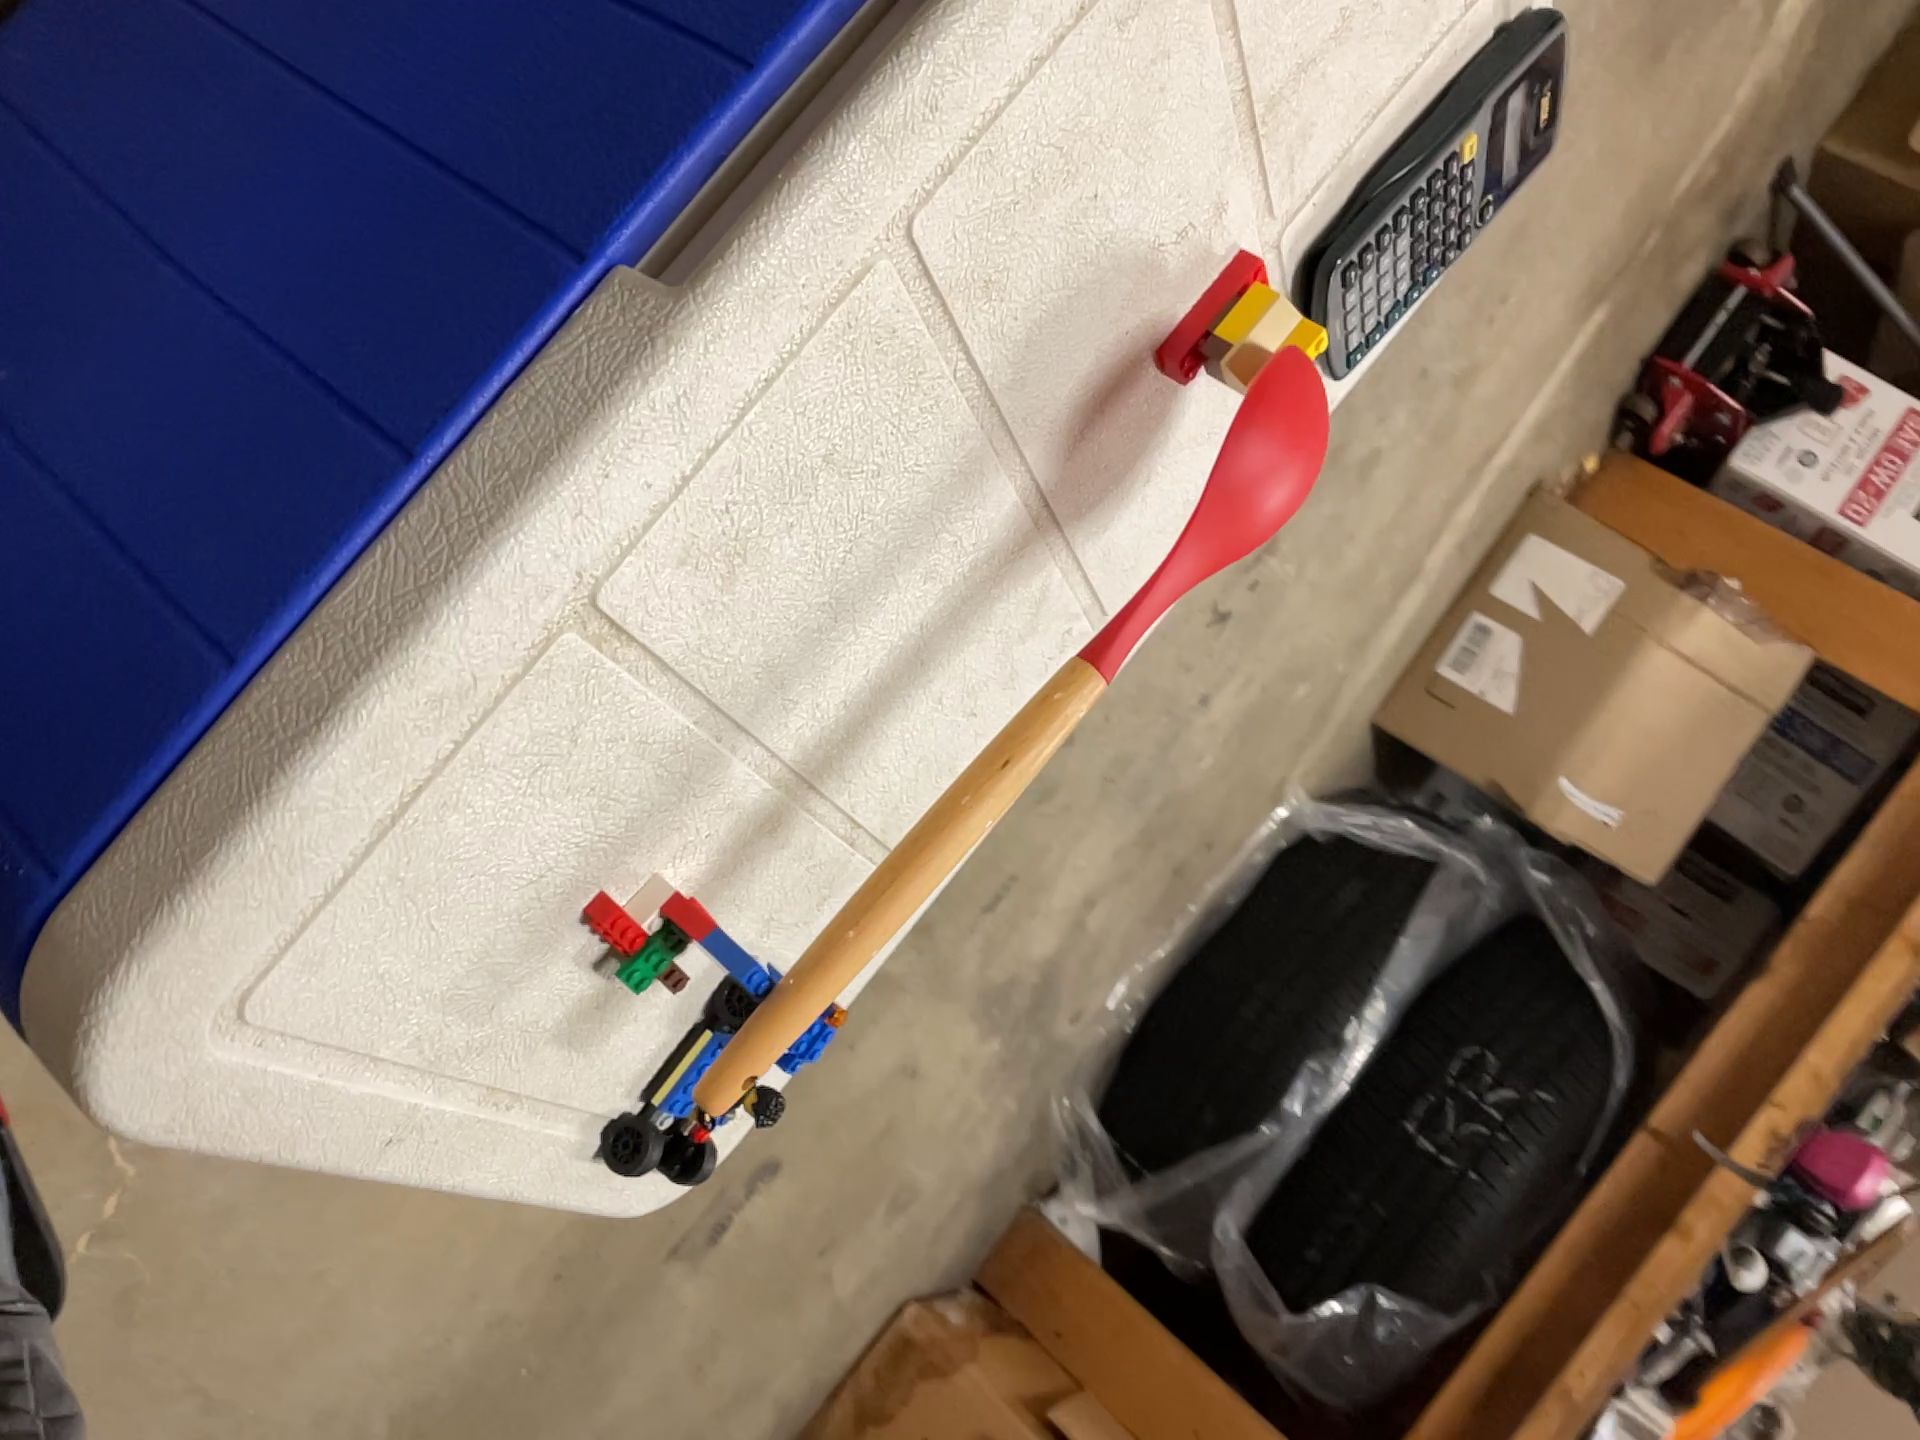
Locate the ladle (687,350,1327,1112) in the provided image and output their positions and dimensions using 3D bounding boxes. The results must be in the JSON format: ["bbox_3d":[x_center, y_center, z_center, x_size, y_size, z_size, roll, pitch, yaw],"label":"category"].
[{"bbox_3d":[0.024,0.002,0.516,0.315,0.031,0.069,-48,154,-10],"label":"ladle"}]
